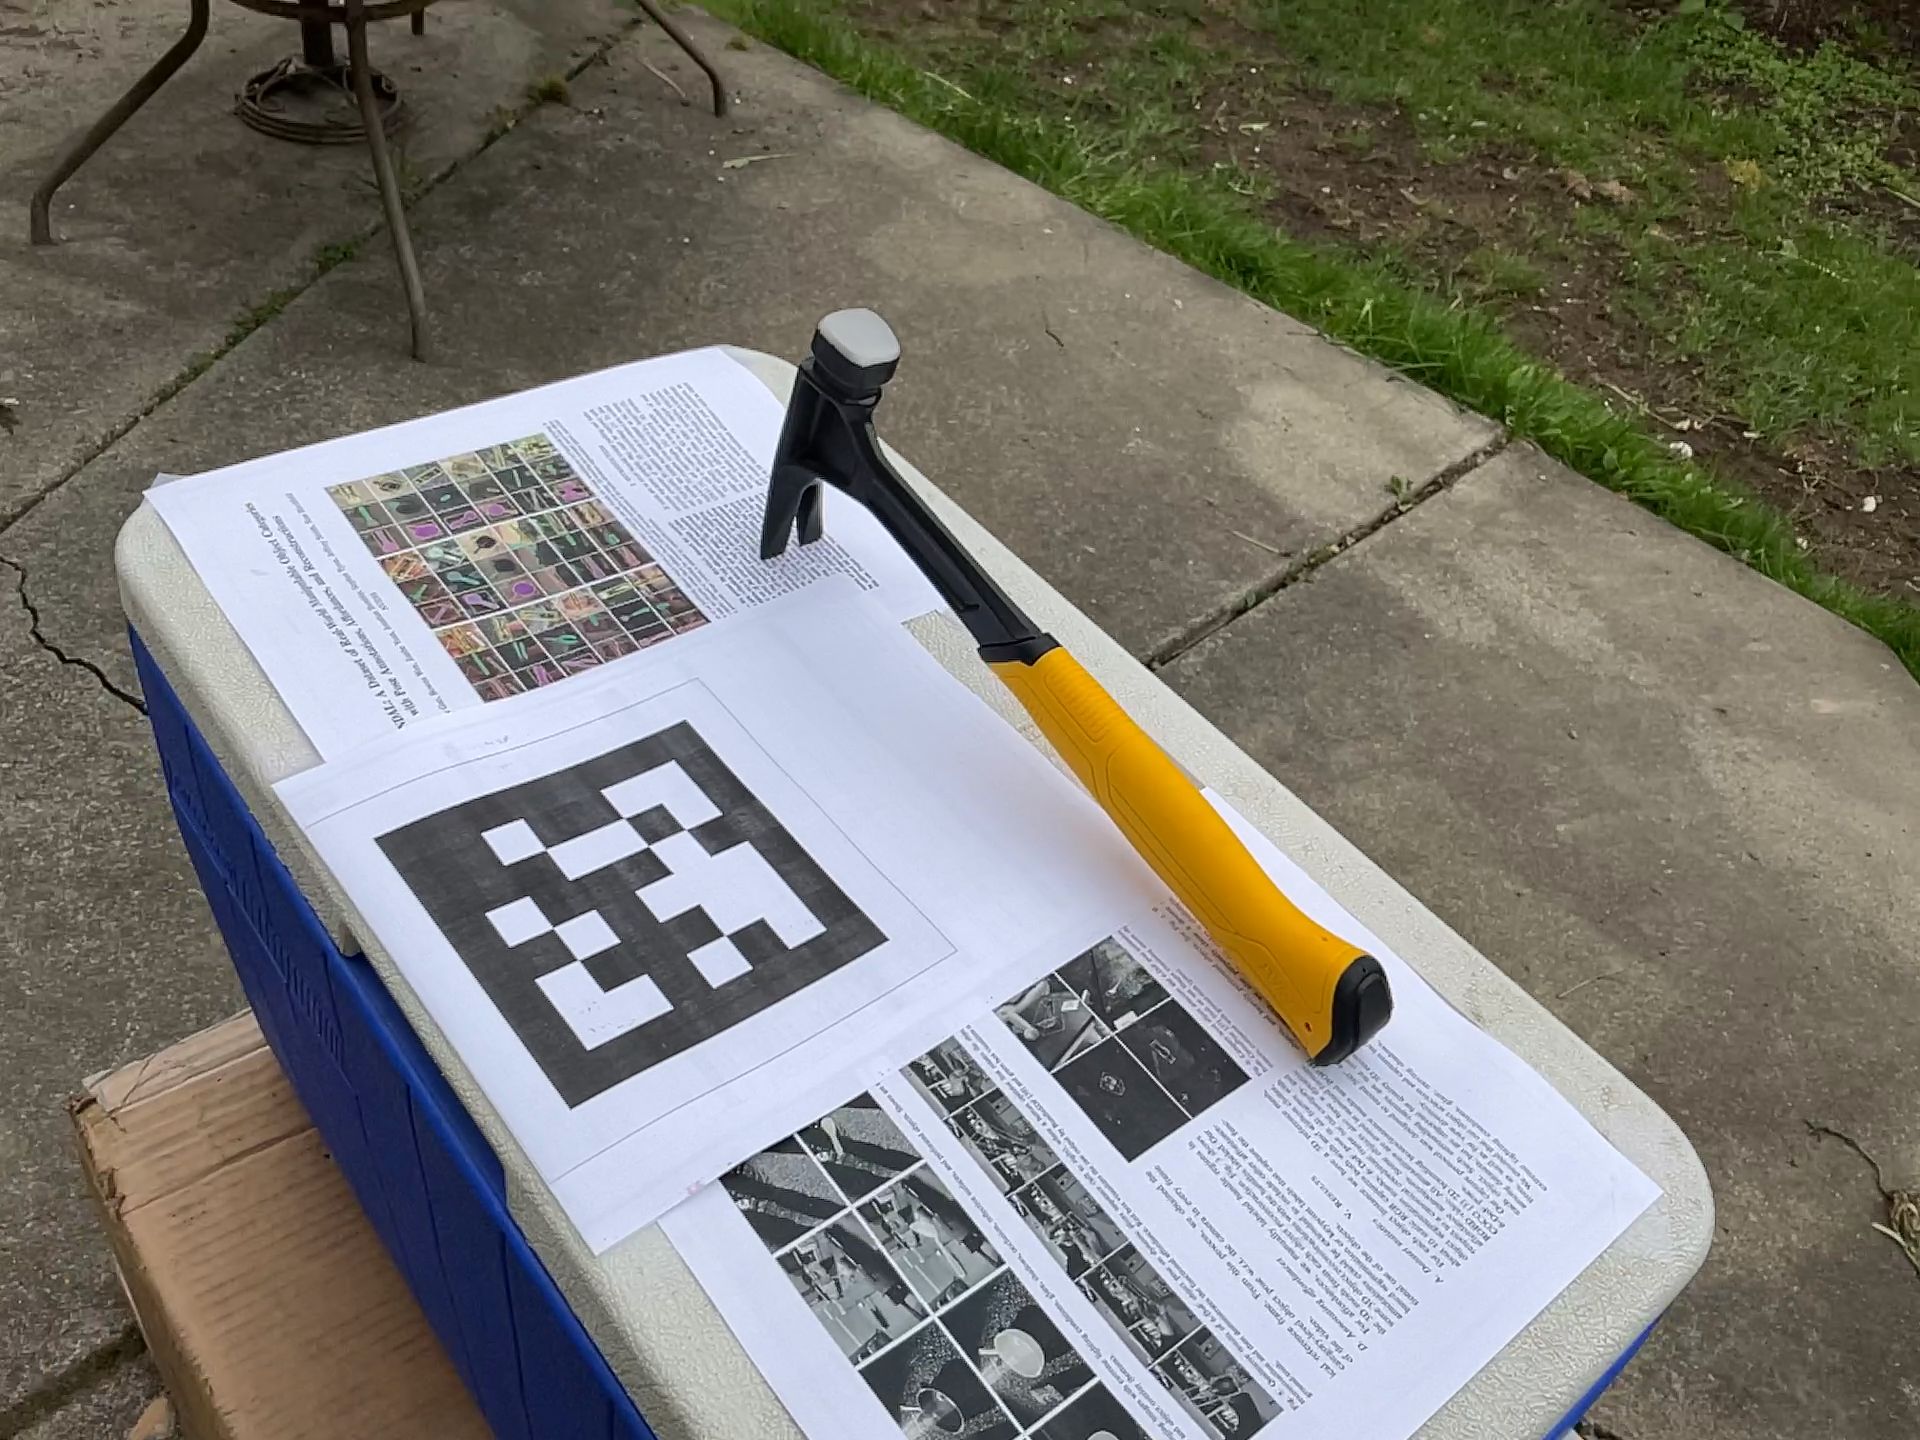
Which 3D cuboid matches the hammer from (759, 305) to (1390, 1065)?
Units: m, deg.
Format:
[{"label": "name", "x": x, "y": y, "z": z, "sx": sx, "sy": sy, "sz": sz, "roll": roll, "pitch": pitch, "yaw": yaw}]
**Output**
[{"label": "hammer", "x": 0.034, "y": -0.006, "z": 0.613, "sx": 0.034, "sy": 0.127, "sz": 0.337, "roll": -25, "pitch": 64, "yaw": -34}]
